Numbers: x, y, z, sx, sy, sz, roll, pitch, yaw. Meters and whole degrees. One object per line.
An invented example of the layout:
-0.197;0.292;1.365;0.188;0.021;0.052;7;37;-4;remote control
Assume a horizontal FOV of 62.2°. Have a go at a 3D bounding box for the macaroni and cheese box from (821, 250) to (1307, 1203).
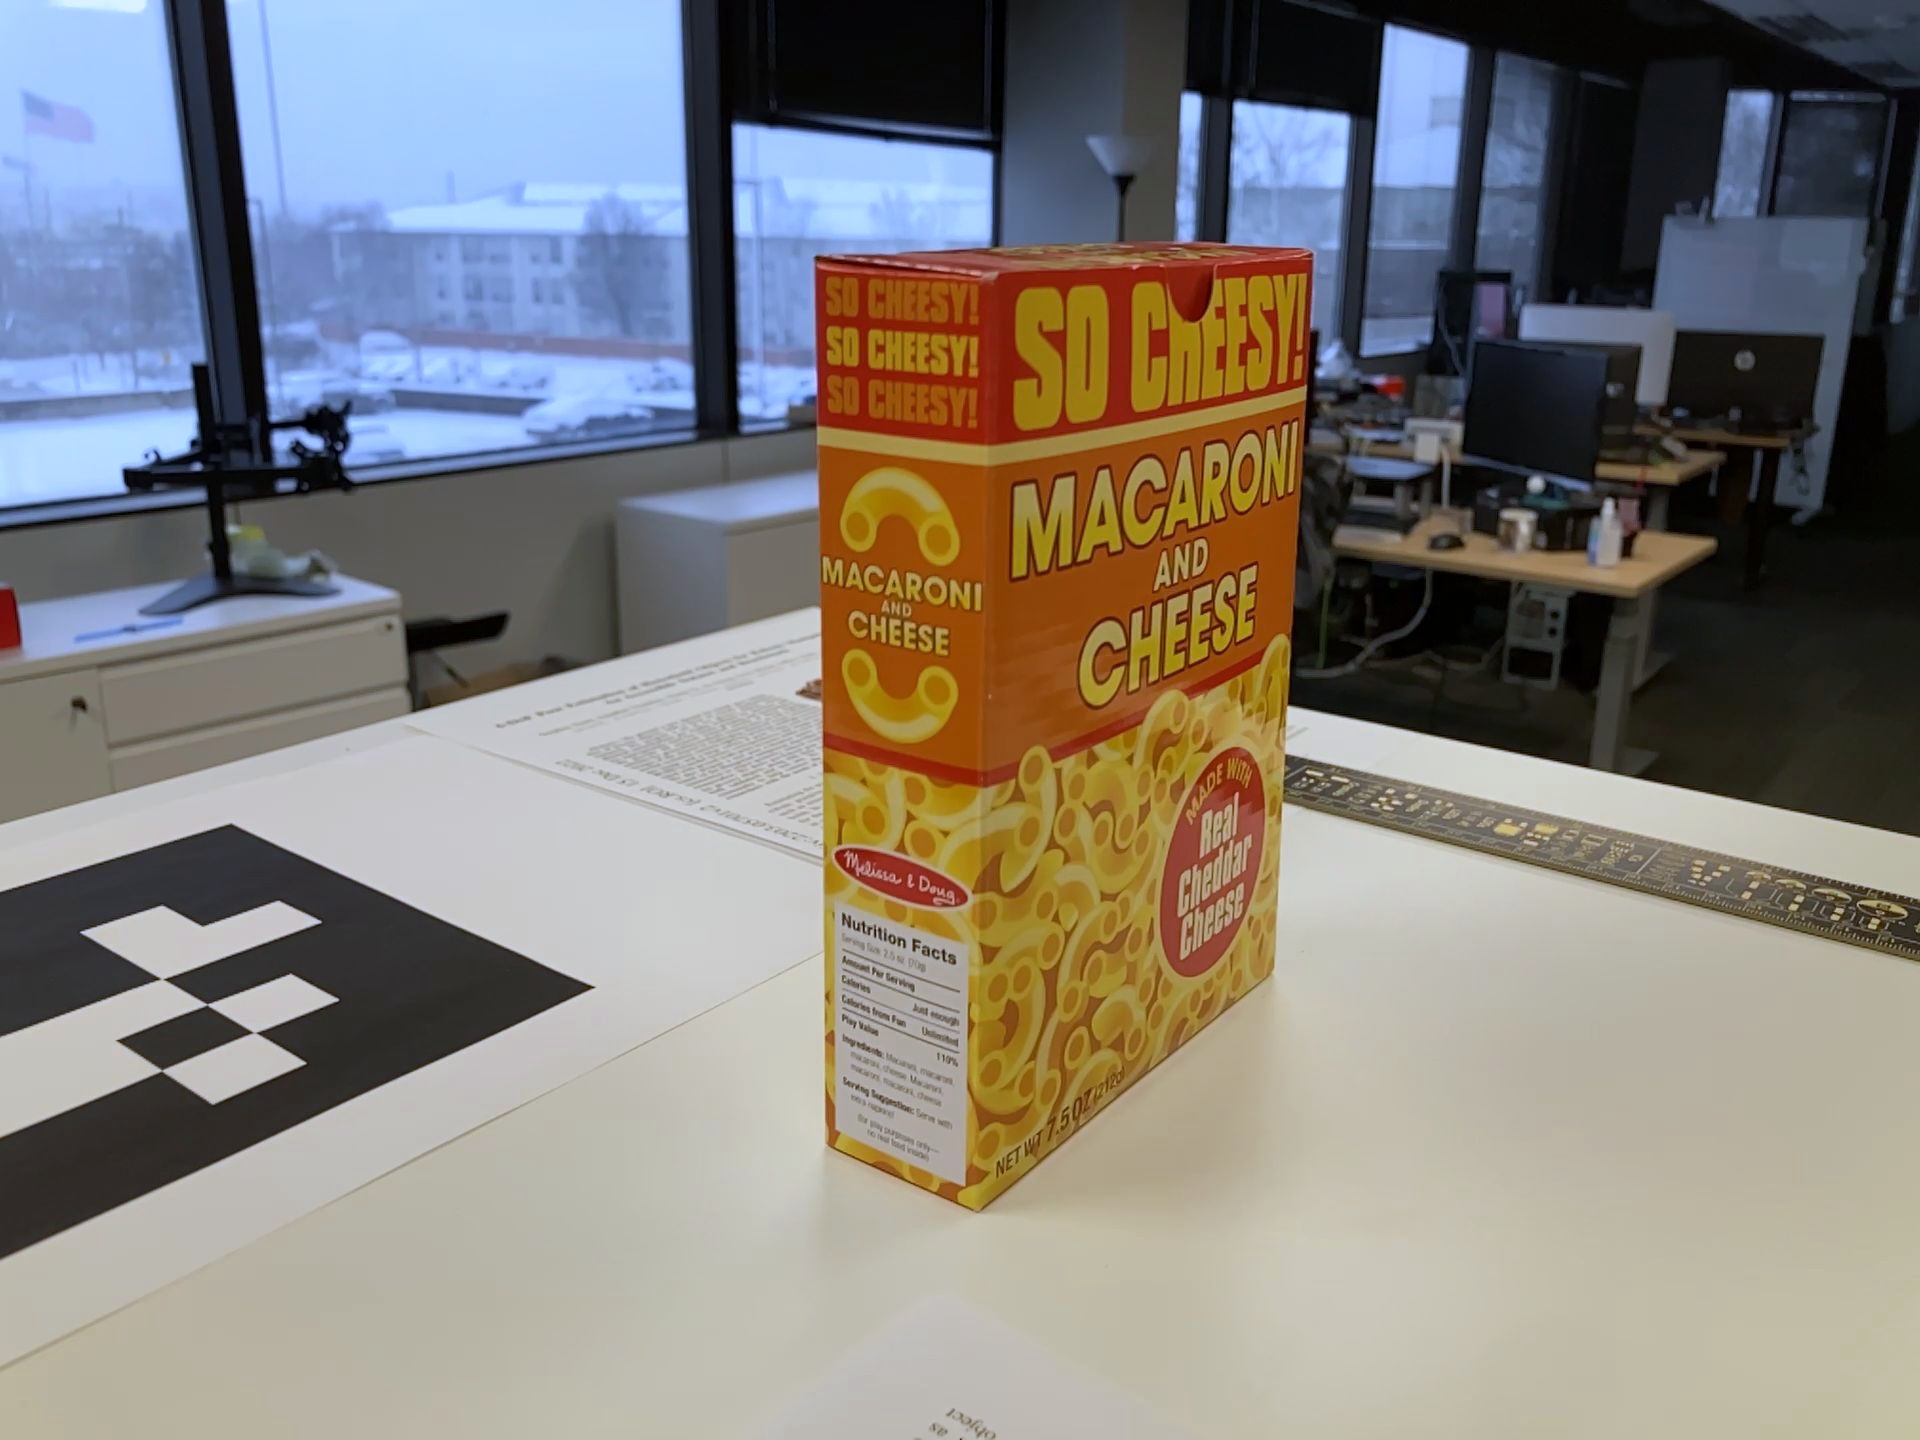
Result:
0.026;-0.008;0.323;0.040;0.166;0.124;12;20;33;macaroni and cheese box
